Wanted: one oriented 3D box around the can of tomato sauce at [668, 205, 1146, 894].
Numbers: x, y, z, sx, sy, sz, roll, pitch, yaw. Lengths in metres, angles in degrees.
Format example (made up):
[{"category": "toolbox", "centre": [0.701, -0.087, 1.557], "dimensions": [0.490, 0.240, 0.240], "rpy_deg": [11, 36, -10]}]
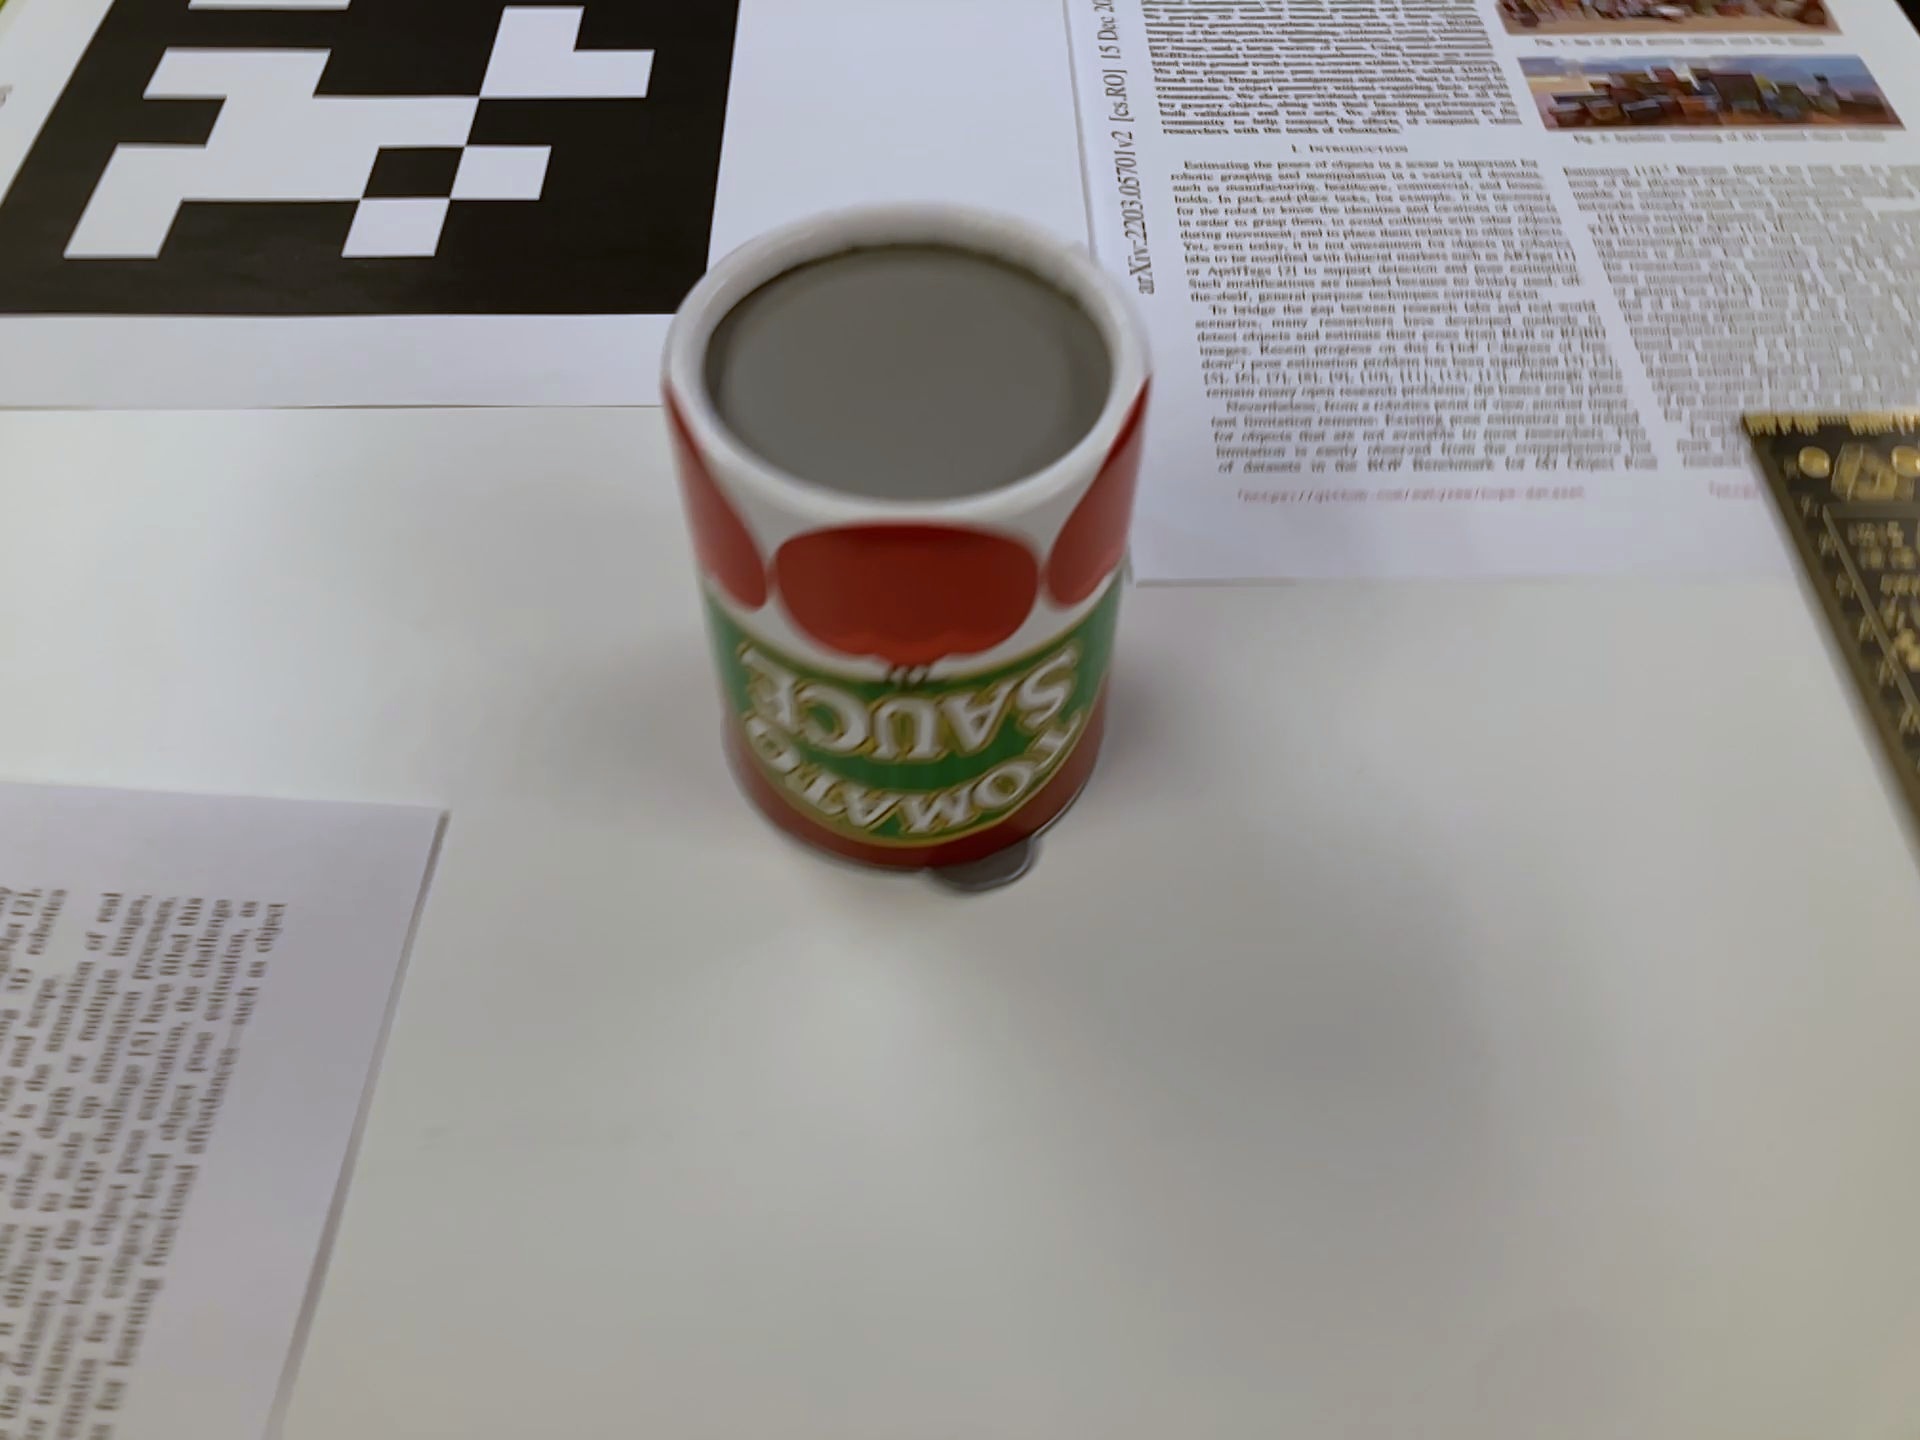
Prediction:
[{"category": "can of tomato sauce", "centre": [-0.009, -0.024, 0.246], "dimensions": [0.071, 0.083, 0.071], "rpy_deg": [1, 54, -2]}]
